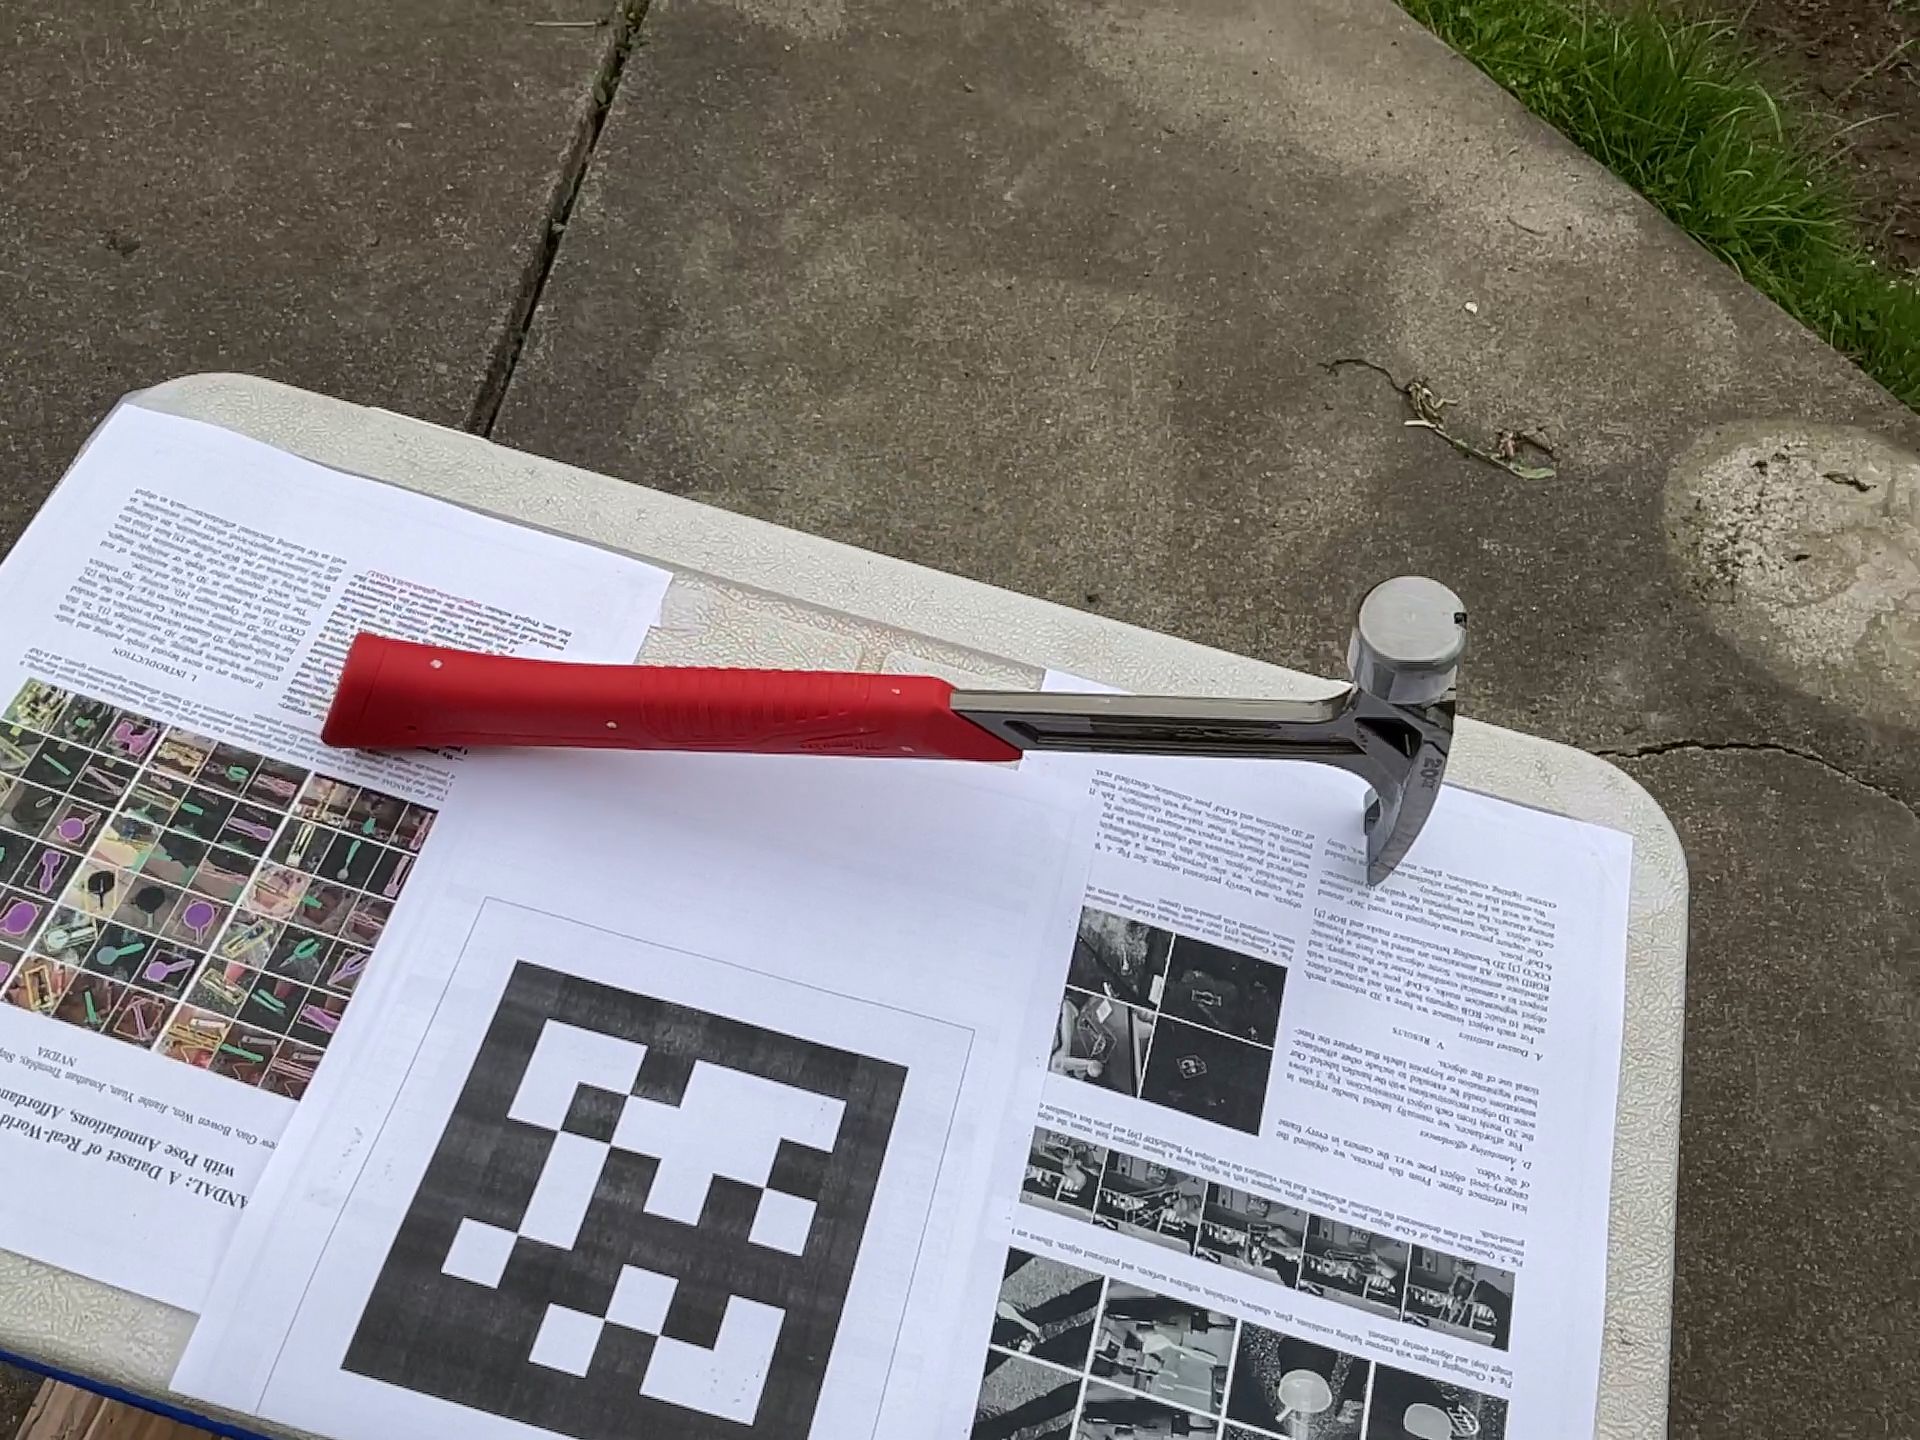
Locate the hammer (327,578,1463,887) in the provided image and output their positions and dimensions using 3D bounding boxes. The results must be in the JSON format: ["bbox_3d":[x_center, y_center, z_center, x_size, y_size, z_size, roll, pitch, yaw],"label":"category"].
[{"bbox_3d":[-0.029,0.004,0.522,0.359,0.149,0.037,2,61,8],"label":"hammer"}]
